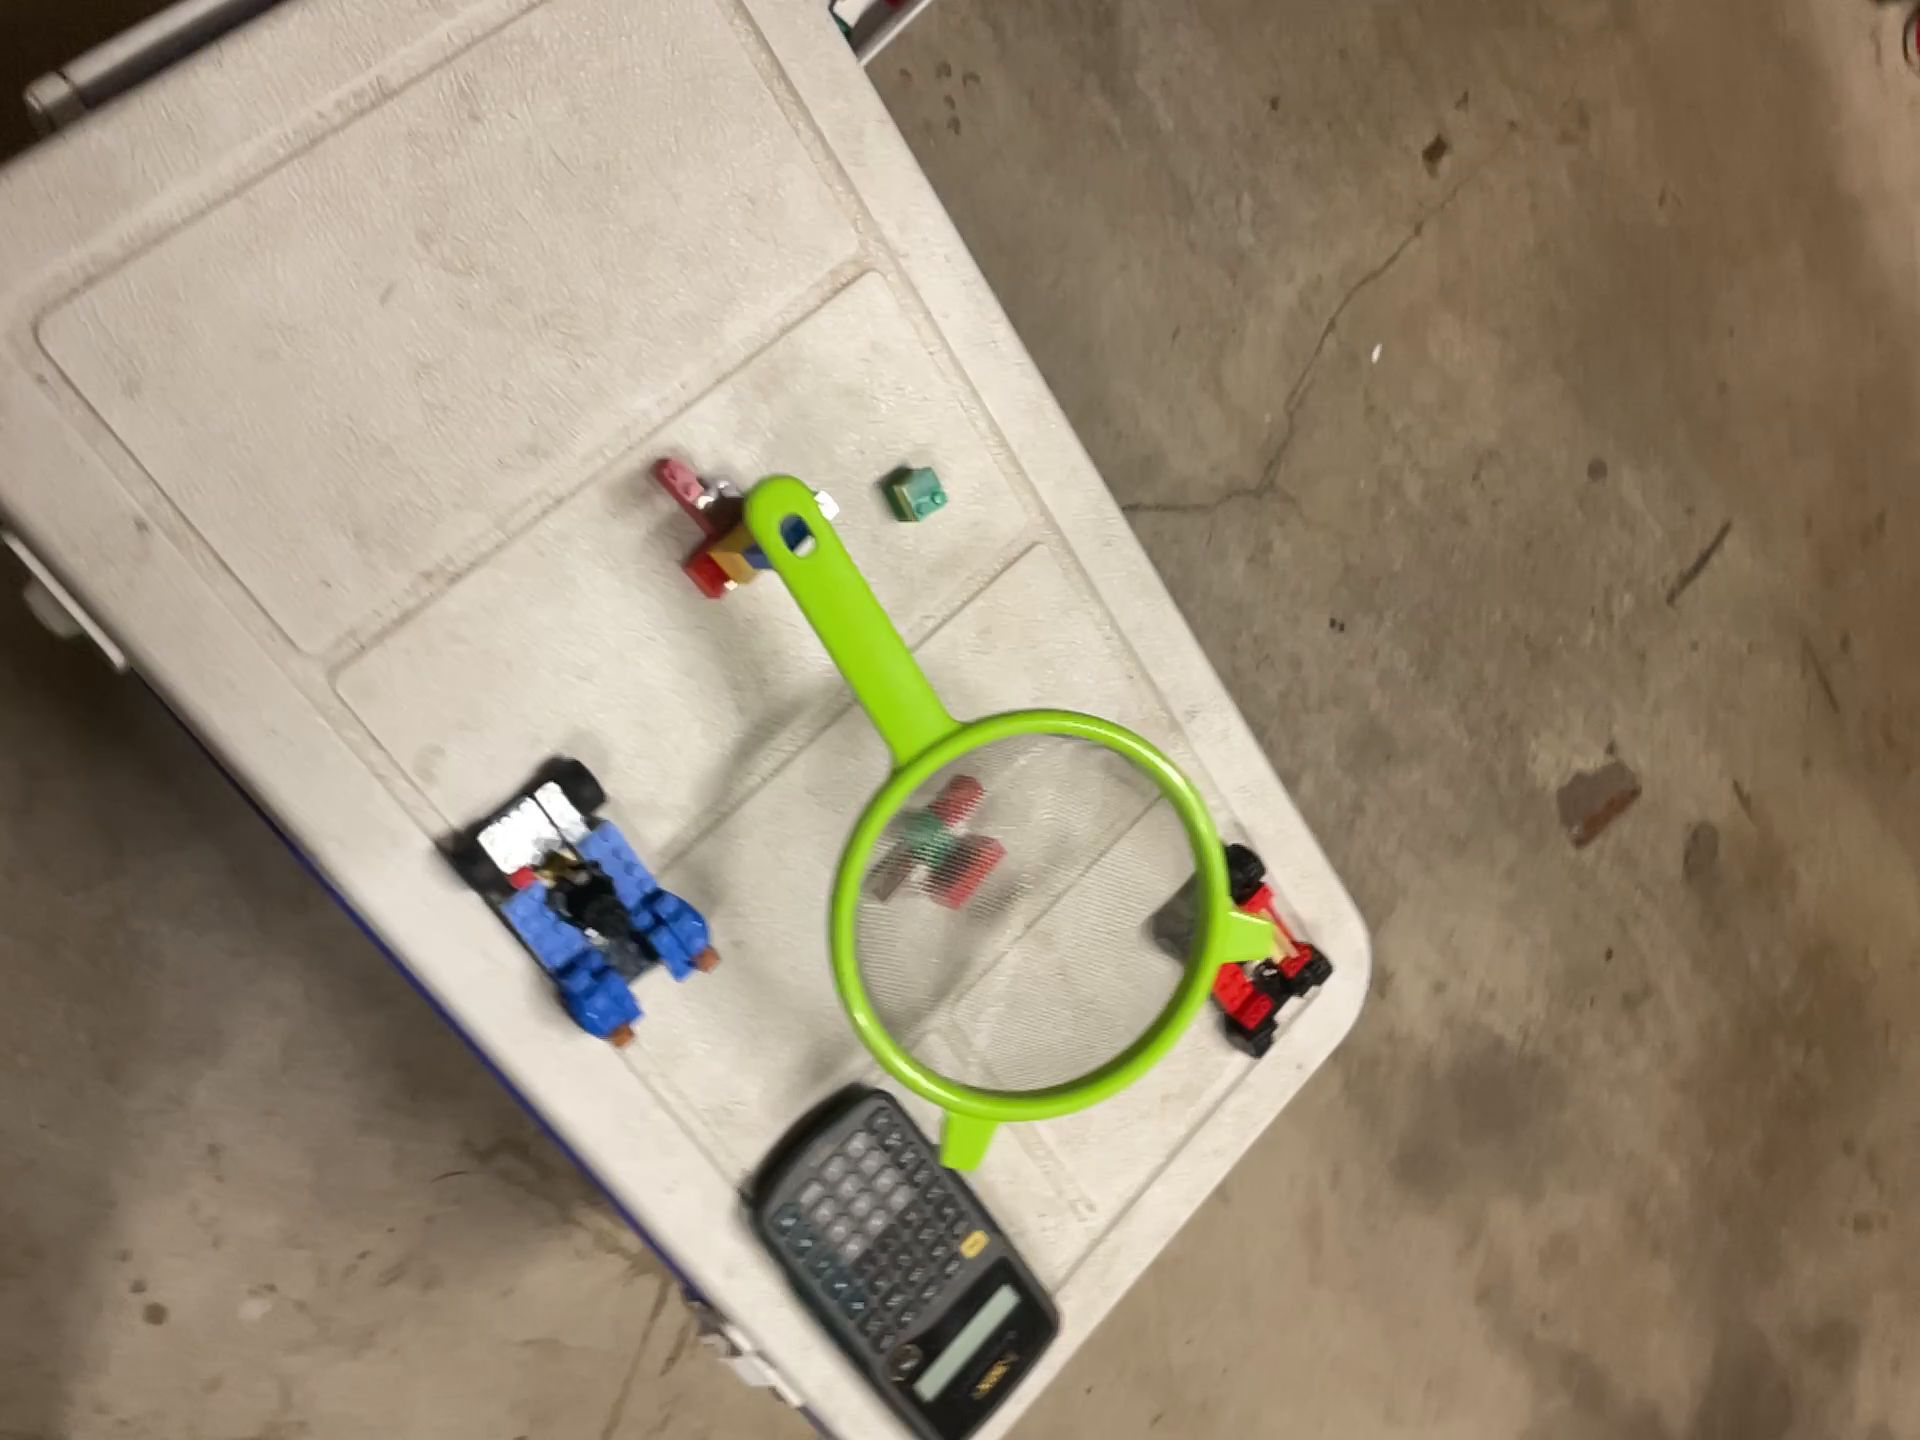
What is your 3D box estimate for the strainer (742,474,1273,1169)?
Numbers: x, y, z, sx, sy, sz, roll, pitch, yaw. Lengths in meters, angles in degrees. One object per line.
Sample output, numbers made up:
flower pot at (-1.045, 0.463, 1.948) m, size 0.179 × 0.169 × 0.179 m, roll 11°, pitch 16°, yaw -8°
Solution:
strainer at (-0.008, 0.024, 0.588) m, size 0.151 × 0.069 × 0.256 m, roll -34°, pitch 103°, yaw -10°
